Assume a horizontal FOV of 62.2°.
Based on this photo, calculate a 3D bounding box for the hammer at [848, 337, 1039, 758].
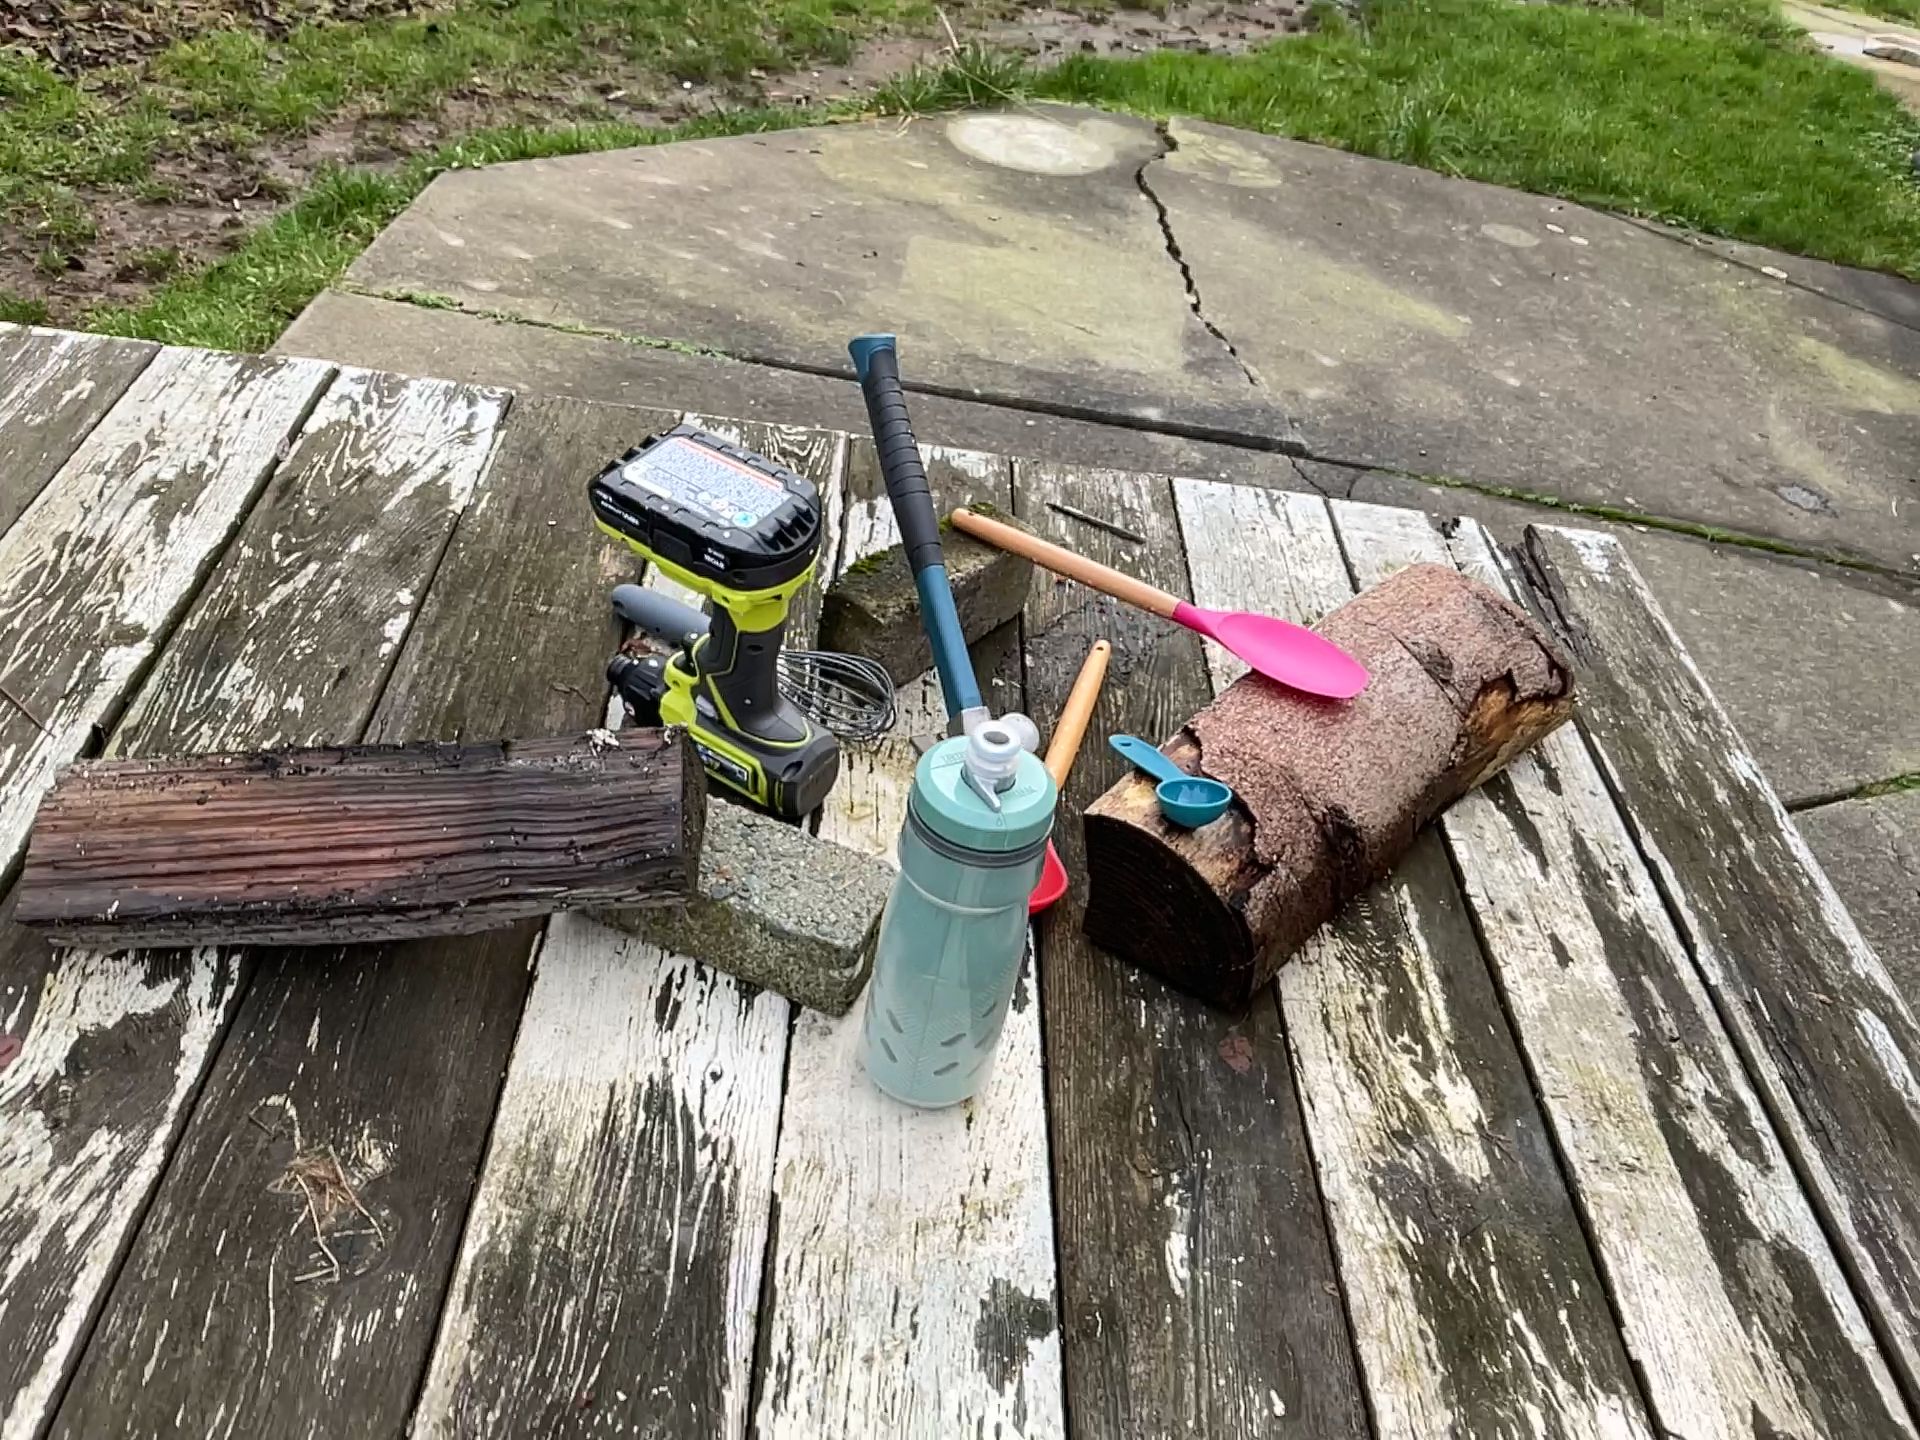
[{"bbox_3d":[-0.023,-0.111,1.066,0.033,0.128,0.331,-7,73,-25],"label":"hammer"}]

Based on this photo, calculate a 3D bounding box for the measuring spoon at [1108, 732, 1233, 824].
[{"bbox_3d":[0.120,0.035,0.952,0.042,0.021,0.129,-6,19,-20],"label":"measuring spoon"}]

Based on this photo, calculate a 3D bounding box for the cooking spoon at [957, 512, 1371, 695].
[{"bbox_3d":[0.131,-0.084,1.099,0.319,0.017,0.068,26,41,24],"label":"cooking spoon"}]

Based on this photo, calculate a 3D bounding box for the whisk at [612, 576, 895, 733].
[{"bbox_3d":[-0.146,-0.052,1.097,0.239,0.055,0.055,25,32,22],"label":"whisk"}]

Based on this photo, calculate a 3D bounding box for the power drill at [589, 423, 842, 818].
[{"bbox_3d":[-0.154,-0.057,0.968,0.171,0.223,0.080,27,48,21],"label":"power drill"}]

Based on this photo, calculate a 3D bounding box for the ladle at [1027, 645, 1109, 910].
[{"bbox_3d":[0.063,0.032,1.068,0.069,0.031,0.315,15,36,9],"label":"ladle"}]
